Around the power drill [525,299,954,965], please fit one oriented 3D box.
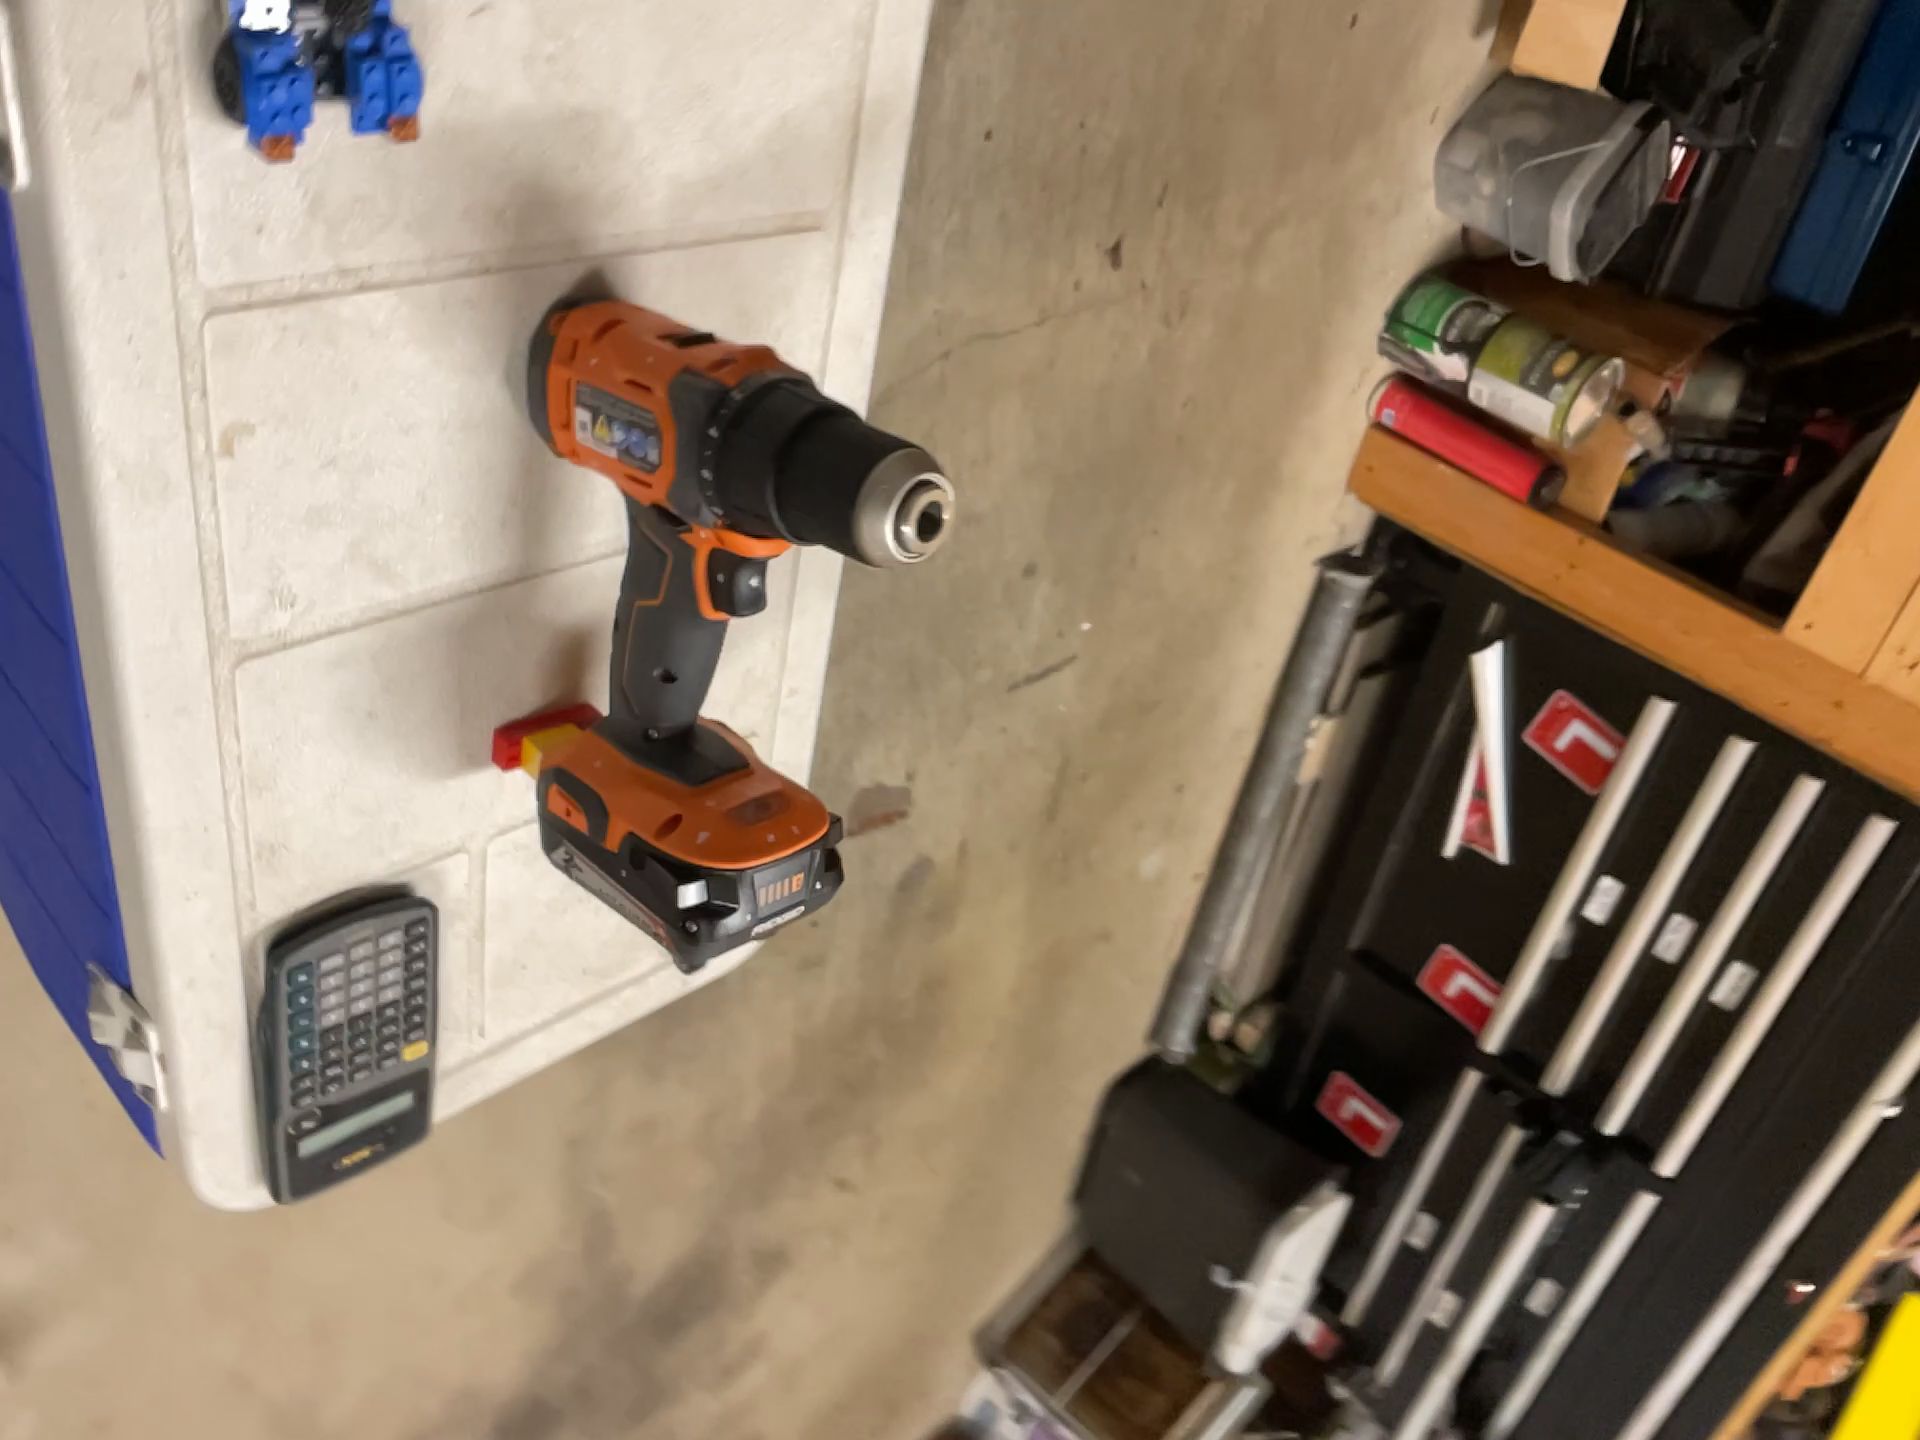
[{"bbox_3d":[-0.084,-0.025,0.586,0.084,0.185,0.226,-21,127,-44],"label":"power drill"}]
